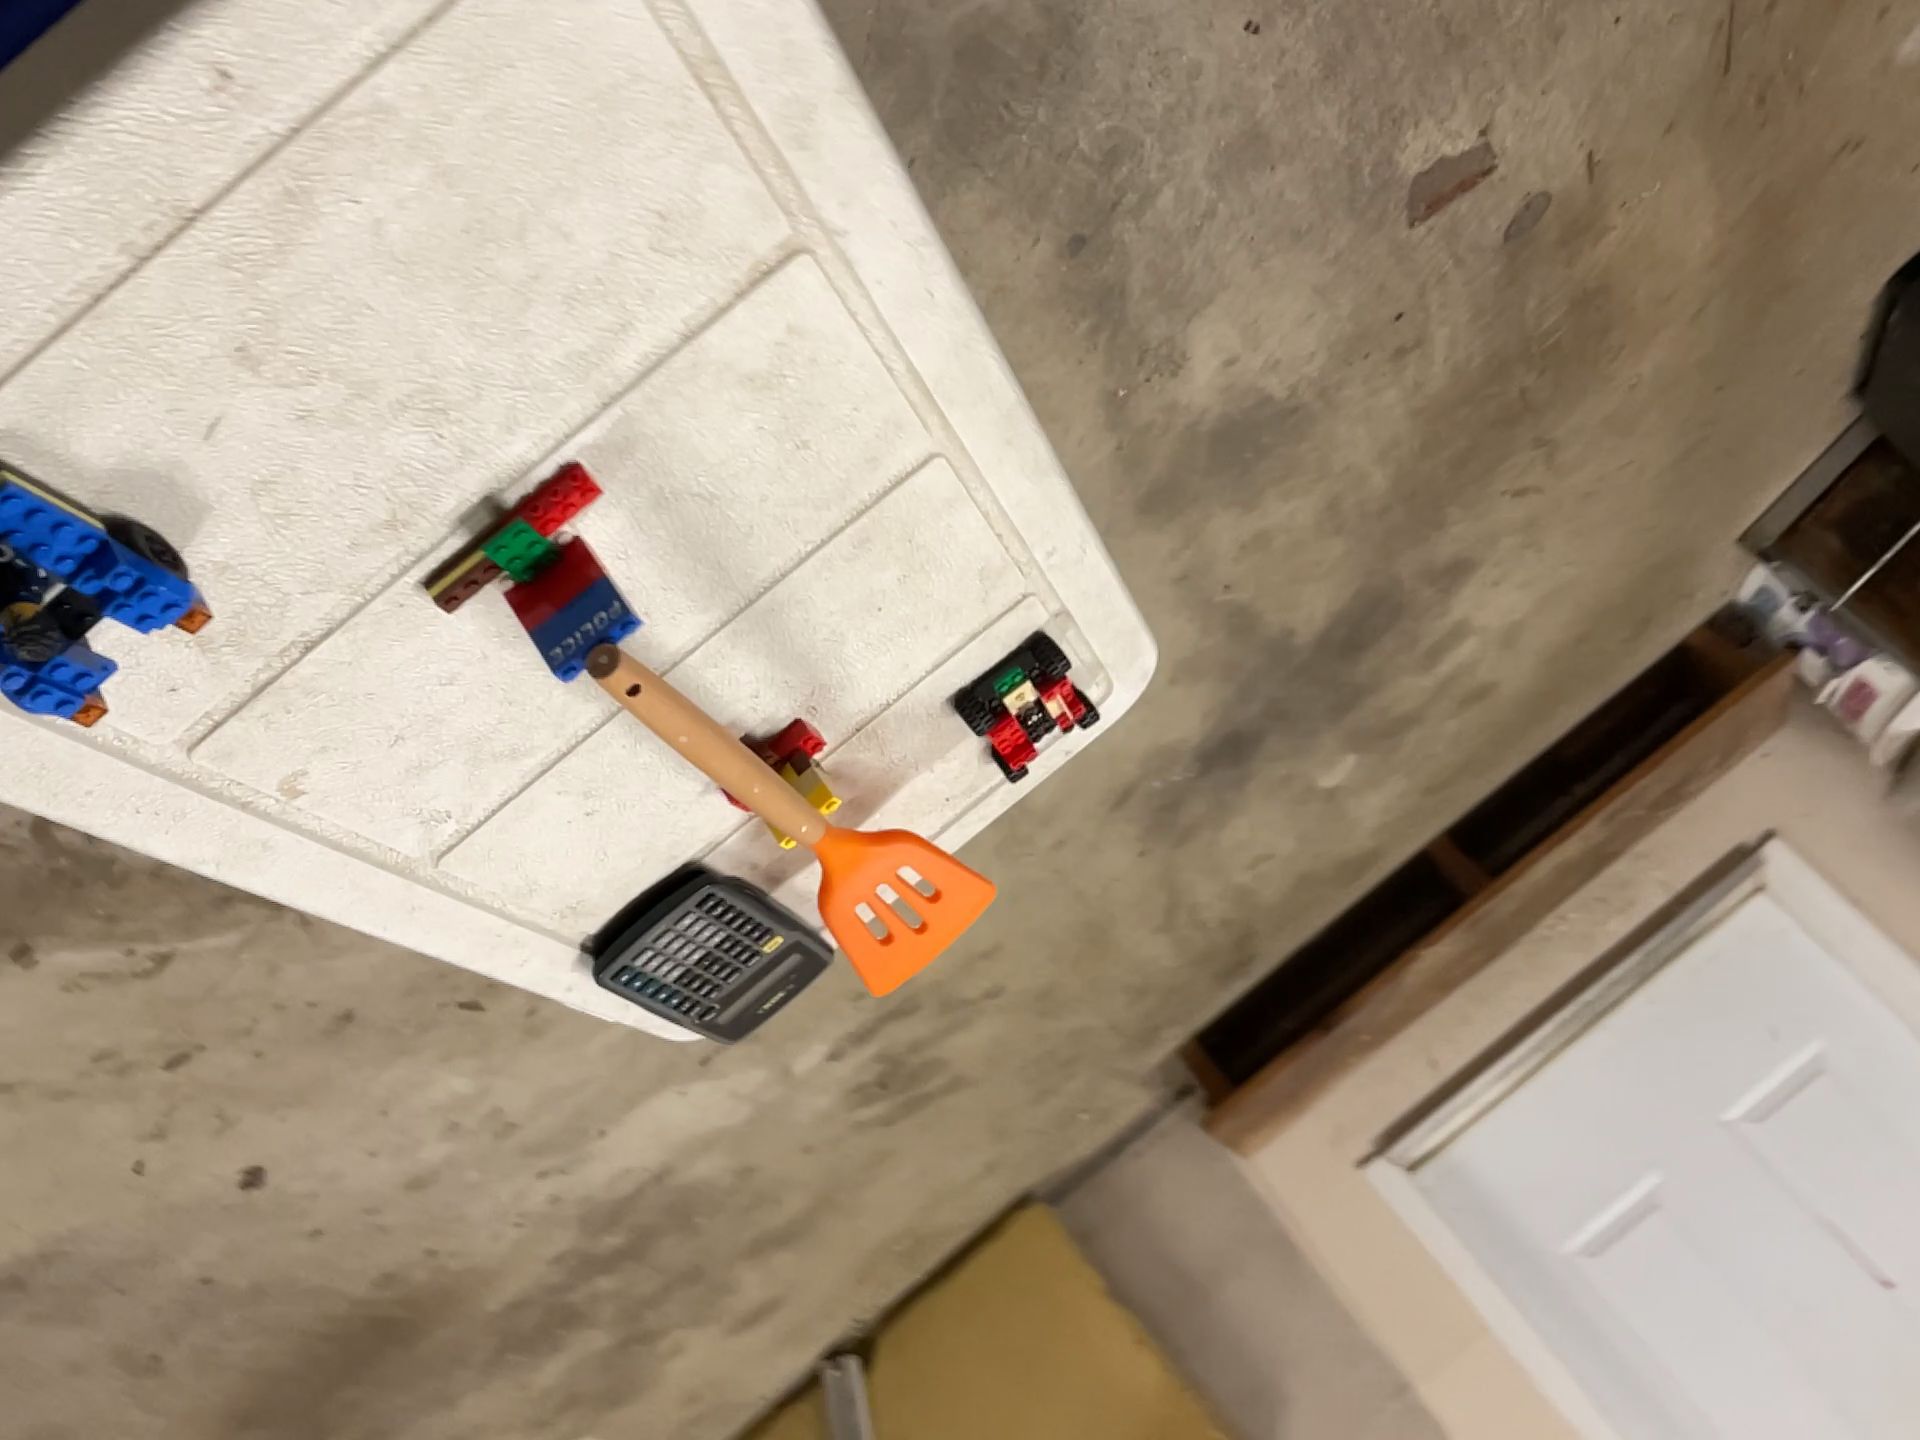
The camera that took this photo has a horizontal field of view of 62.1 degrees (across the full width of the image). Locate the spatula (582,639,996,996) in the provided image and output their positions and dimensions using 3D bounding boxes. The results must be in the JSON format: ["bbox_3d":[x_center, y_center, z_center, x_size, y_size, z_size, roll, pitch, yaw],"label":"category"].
[{"bbox_3d":[-0.065,0.042,0.643,0.081,0.041,0.322,-41,154,-2],"label":"spatula"}]
